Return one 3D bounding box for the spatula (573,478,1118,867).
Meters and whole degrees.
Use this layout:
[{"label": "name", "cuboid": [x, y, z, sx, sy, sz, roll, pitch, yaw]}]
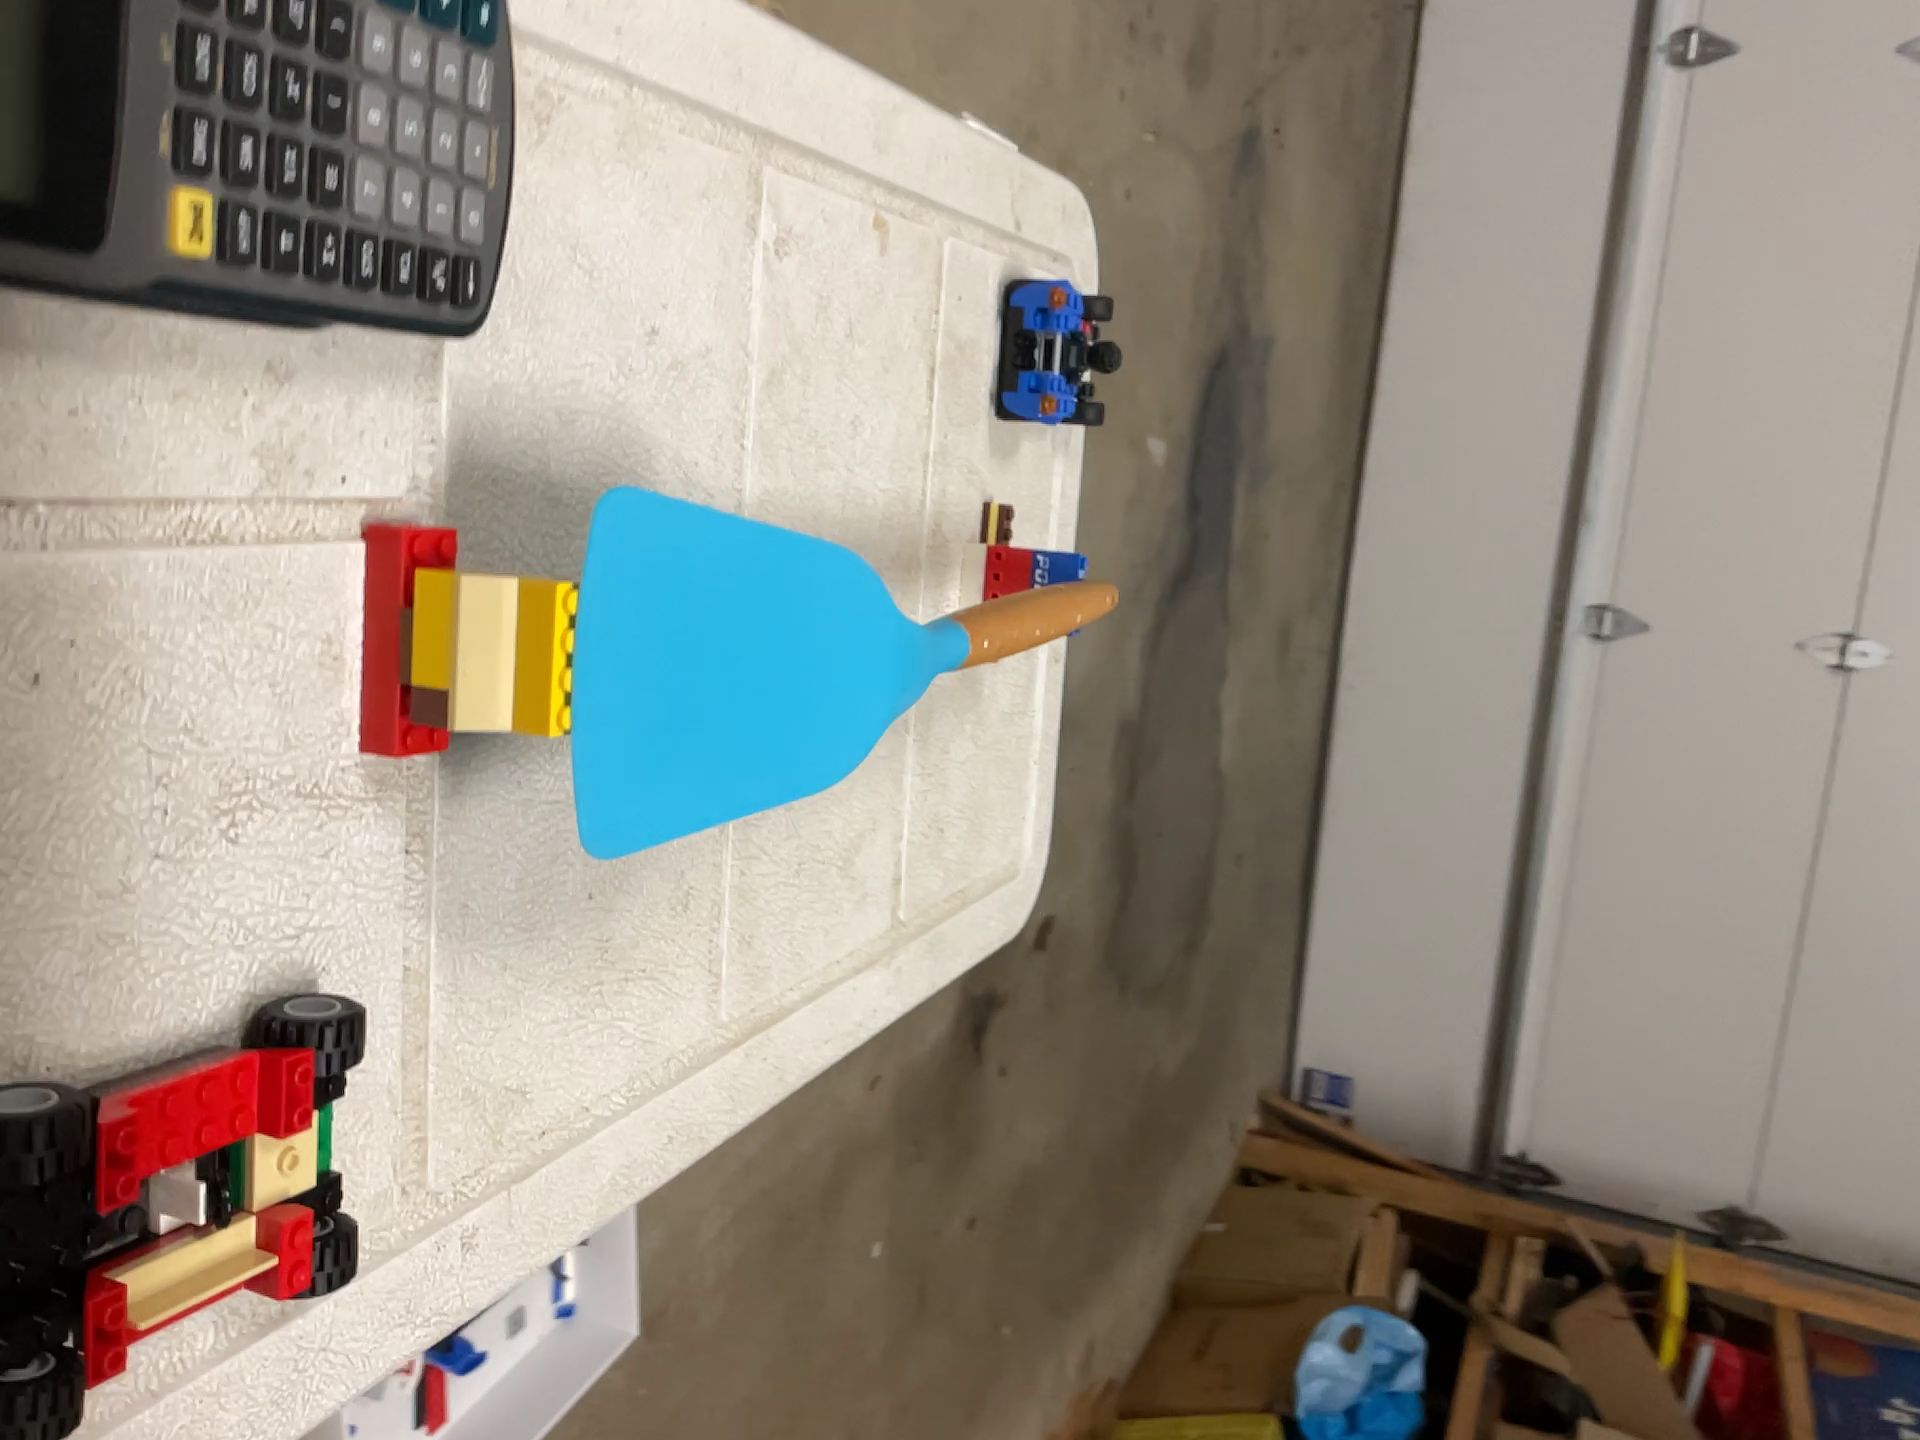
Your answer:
[{"label": "spatula", "cuboid": [-0.006, -0.027, 0.469, 0.318, 0.044, 0.082, -22, 117, -69]}]
